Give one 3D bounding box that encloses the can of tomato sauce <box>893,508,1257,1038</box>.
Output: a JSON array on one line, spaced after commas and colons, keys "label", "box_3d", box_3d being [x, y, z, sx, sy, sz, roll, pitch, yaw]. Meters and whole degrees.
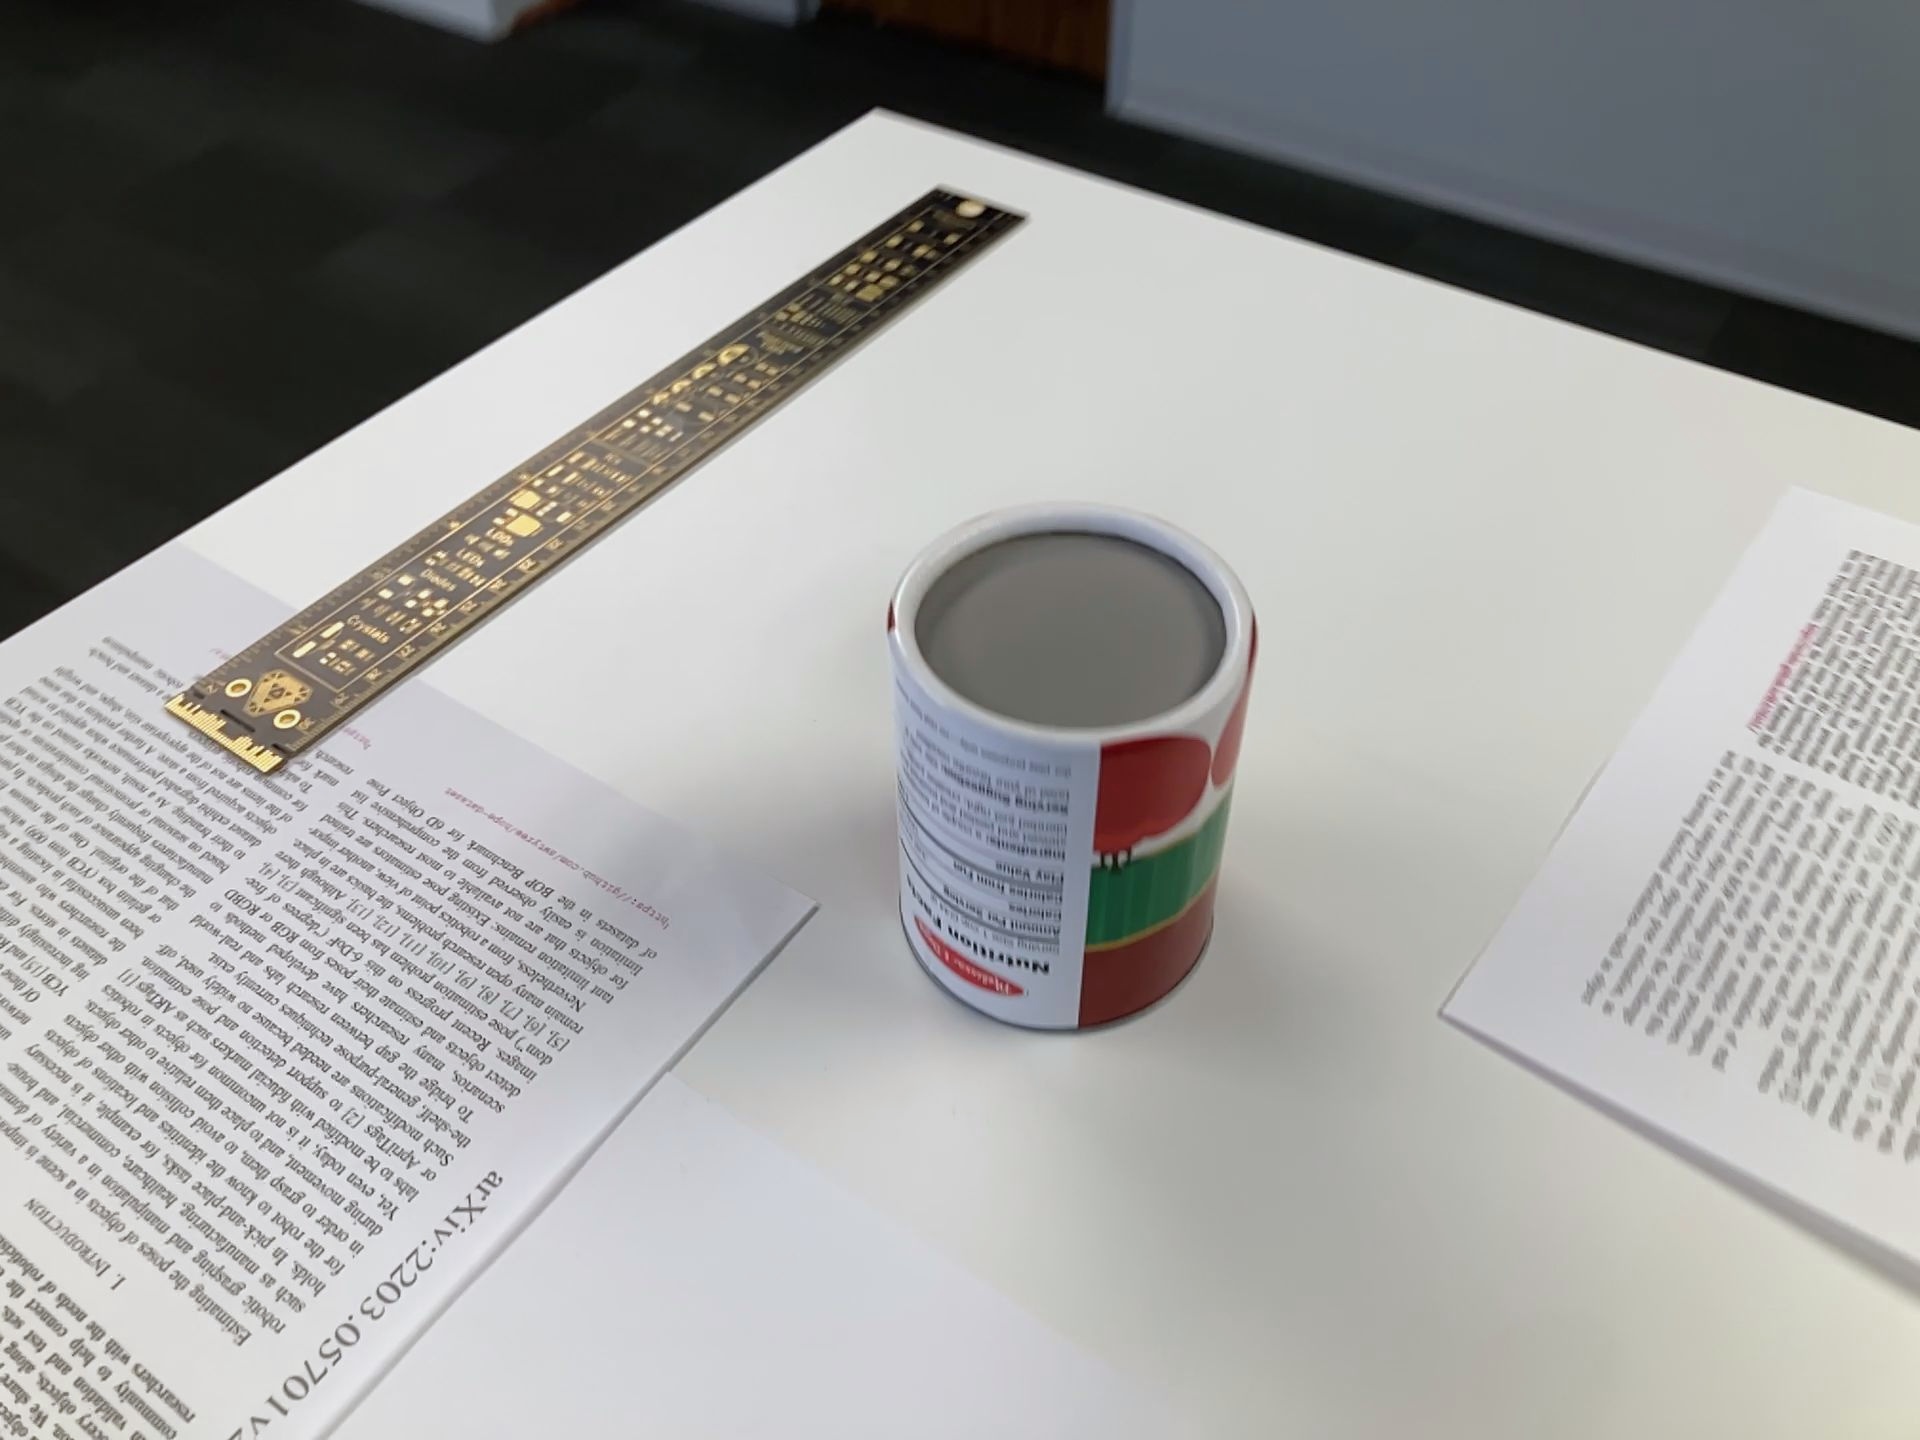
[{"label": "can of tomato sauce", "box_3d": [0.023, 0.009, 0.312, 0.071, 0.083, 0.071, -1, 43, 1]}]
